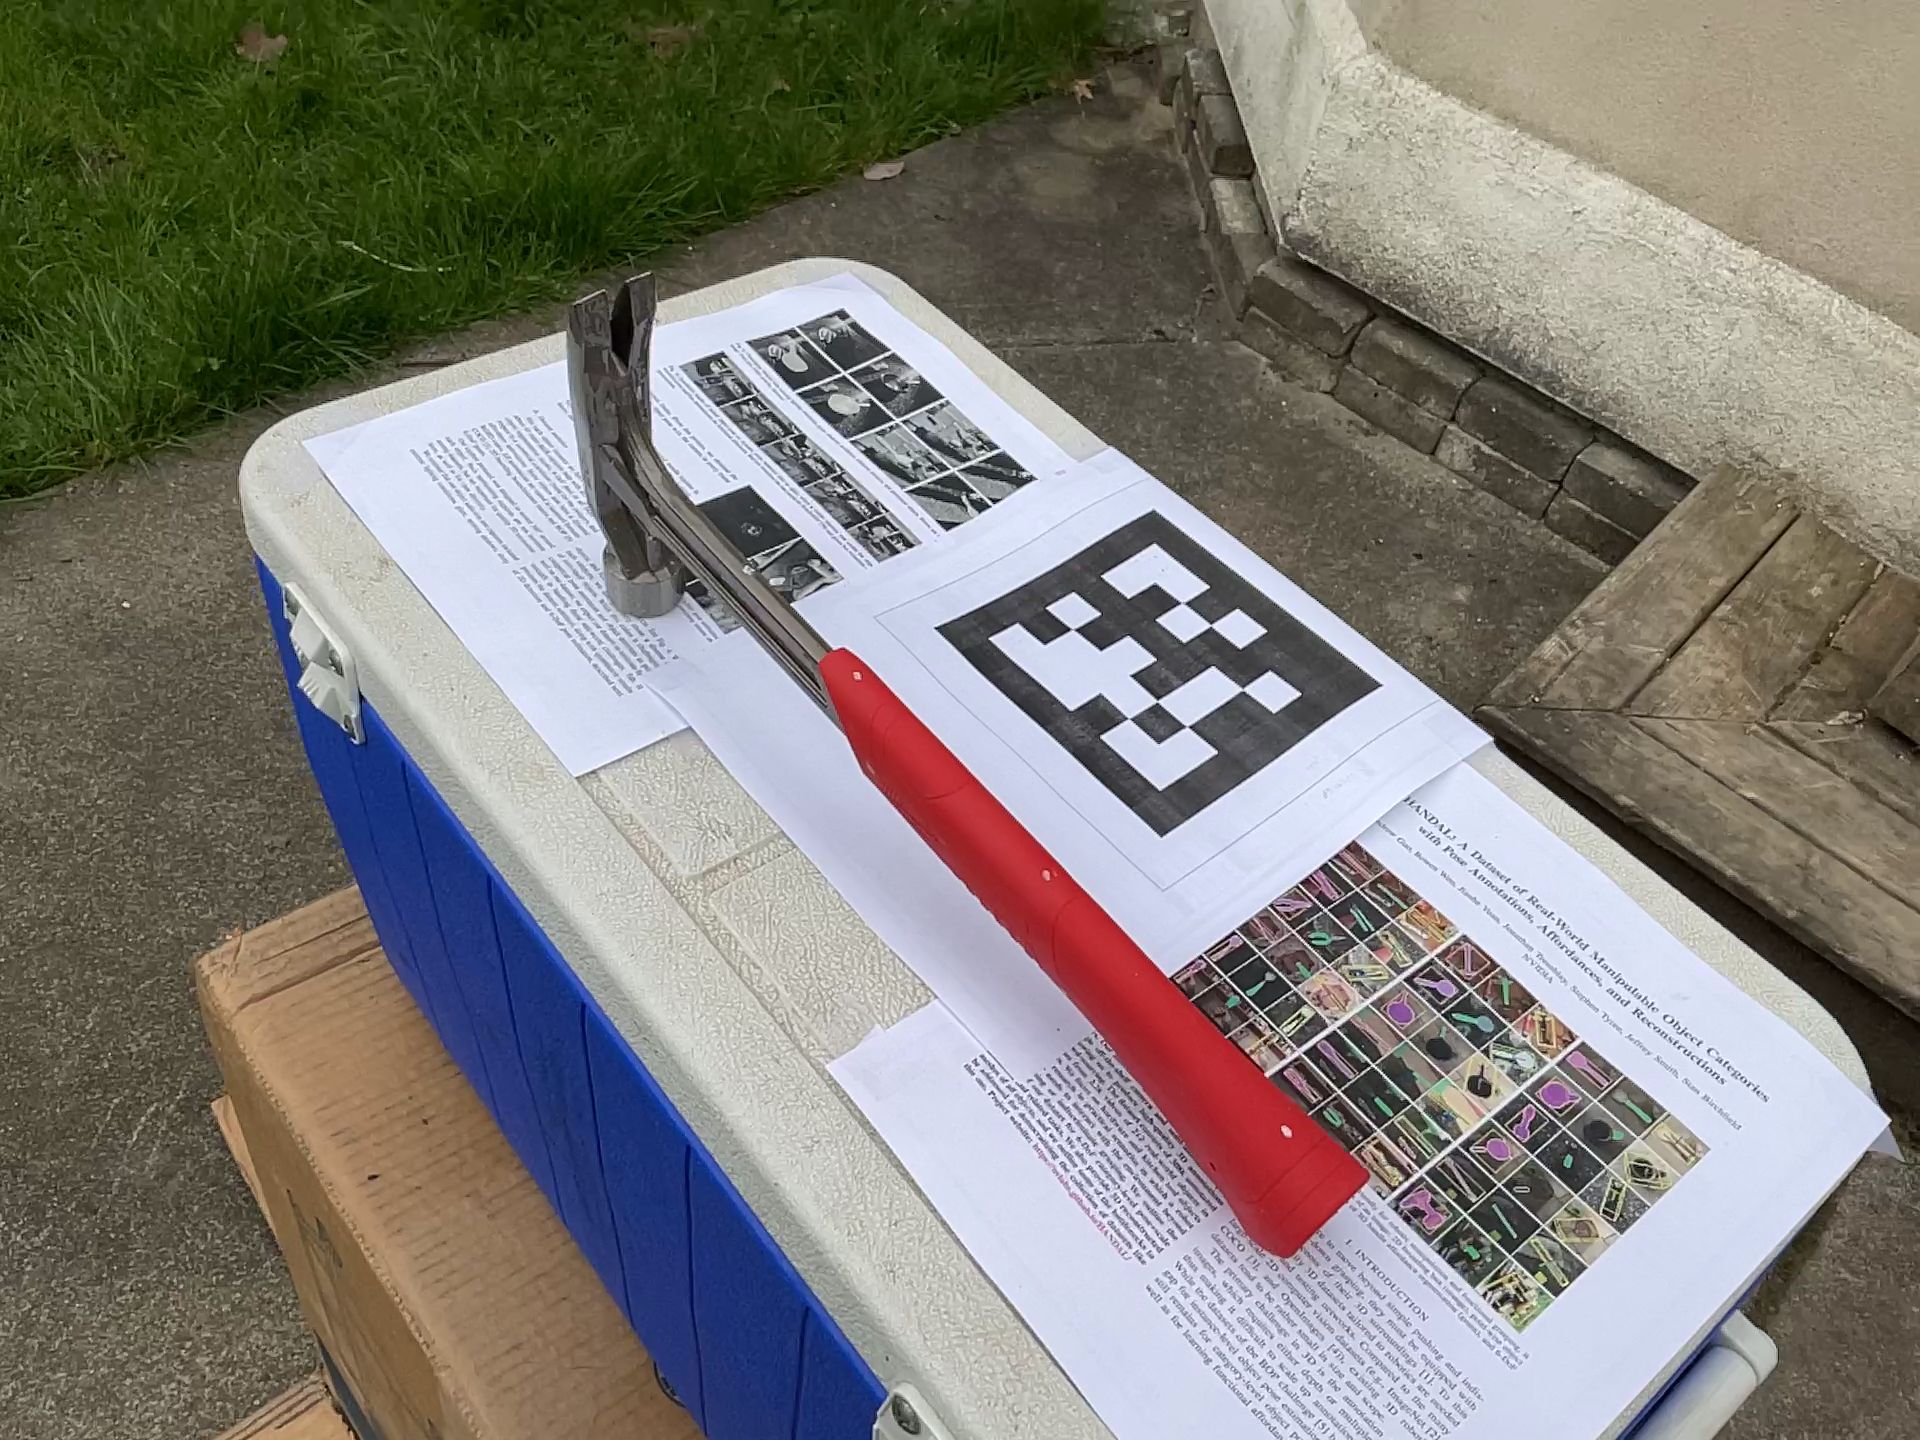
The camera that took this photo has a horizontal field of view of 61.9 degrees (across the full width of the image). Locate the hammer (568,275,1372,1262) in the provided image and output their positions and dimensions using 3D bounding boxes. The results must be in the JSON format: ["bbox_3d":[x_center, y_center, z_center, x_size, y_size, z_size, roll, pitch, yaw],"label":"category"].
[{"bbox_3d":[-0.010,0.016,0.510,0.036,0.149,0.359,-33,66,-27],"label":"hammer"}]
